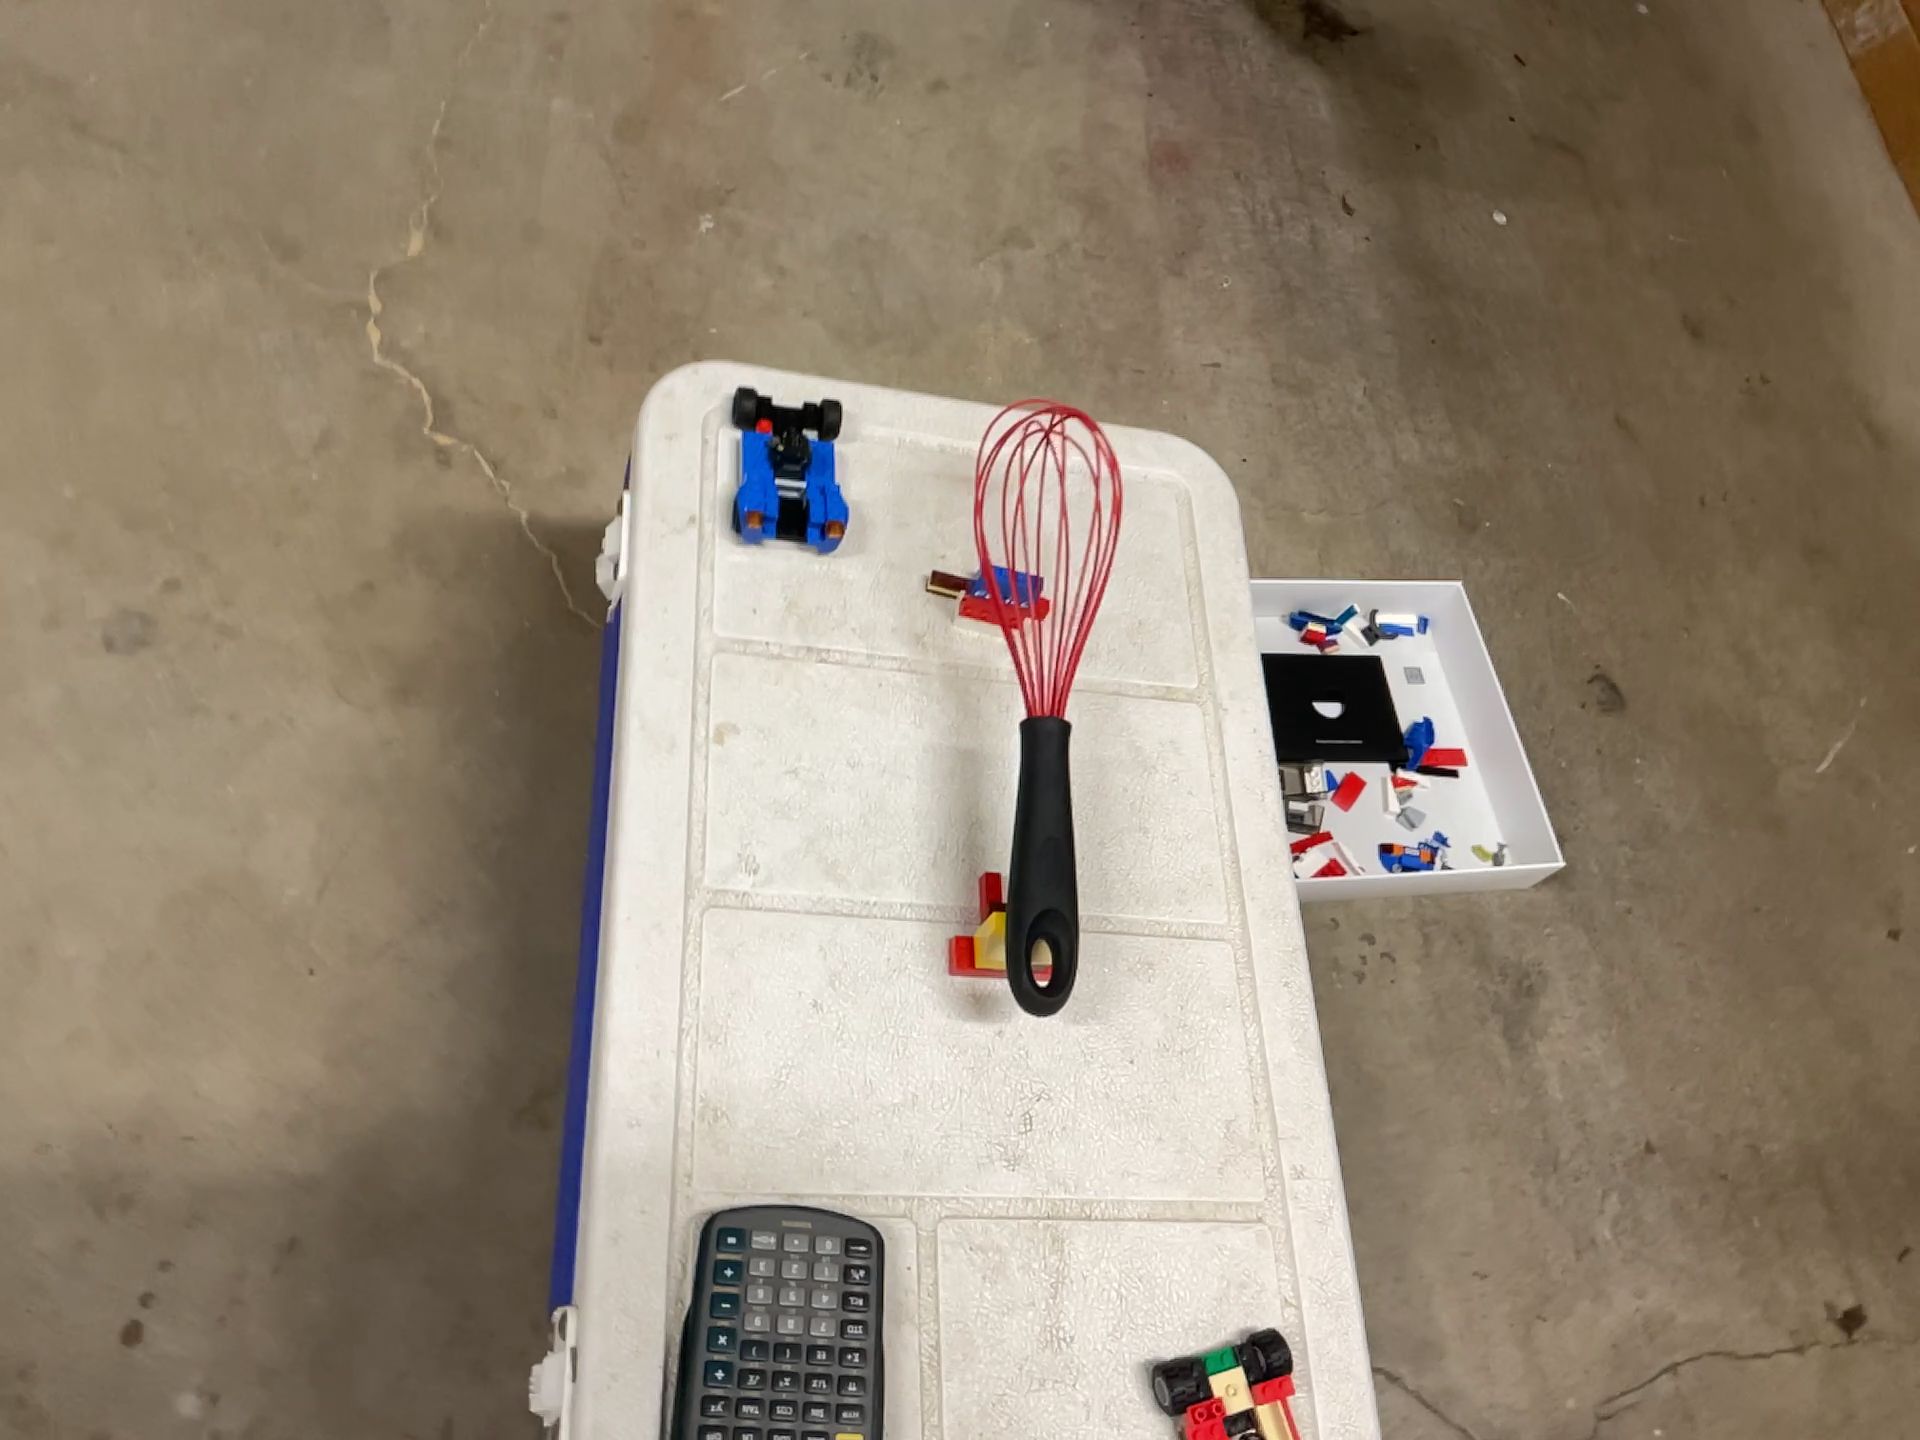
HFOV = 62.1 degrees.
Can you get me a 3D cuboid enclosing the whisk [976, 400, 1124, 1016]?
[{"bbox_3d":[0.039,-0.016,0.719,0.073,0.073,0.296,9,69,-18],"label":"whisk"}]
